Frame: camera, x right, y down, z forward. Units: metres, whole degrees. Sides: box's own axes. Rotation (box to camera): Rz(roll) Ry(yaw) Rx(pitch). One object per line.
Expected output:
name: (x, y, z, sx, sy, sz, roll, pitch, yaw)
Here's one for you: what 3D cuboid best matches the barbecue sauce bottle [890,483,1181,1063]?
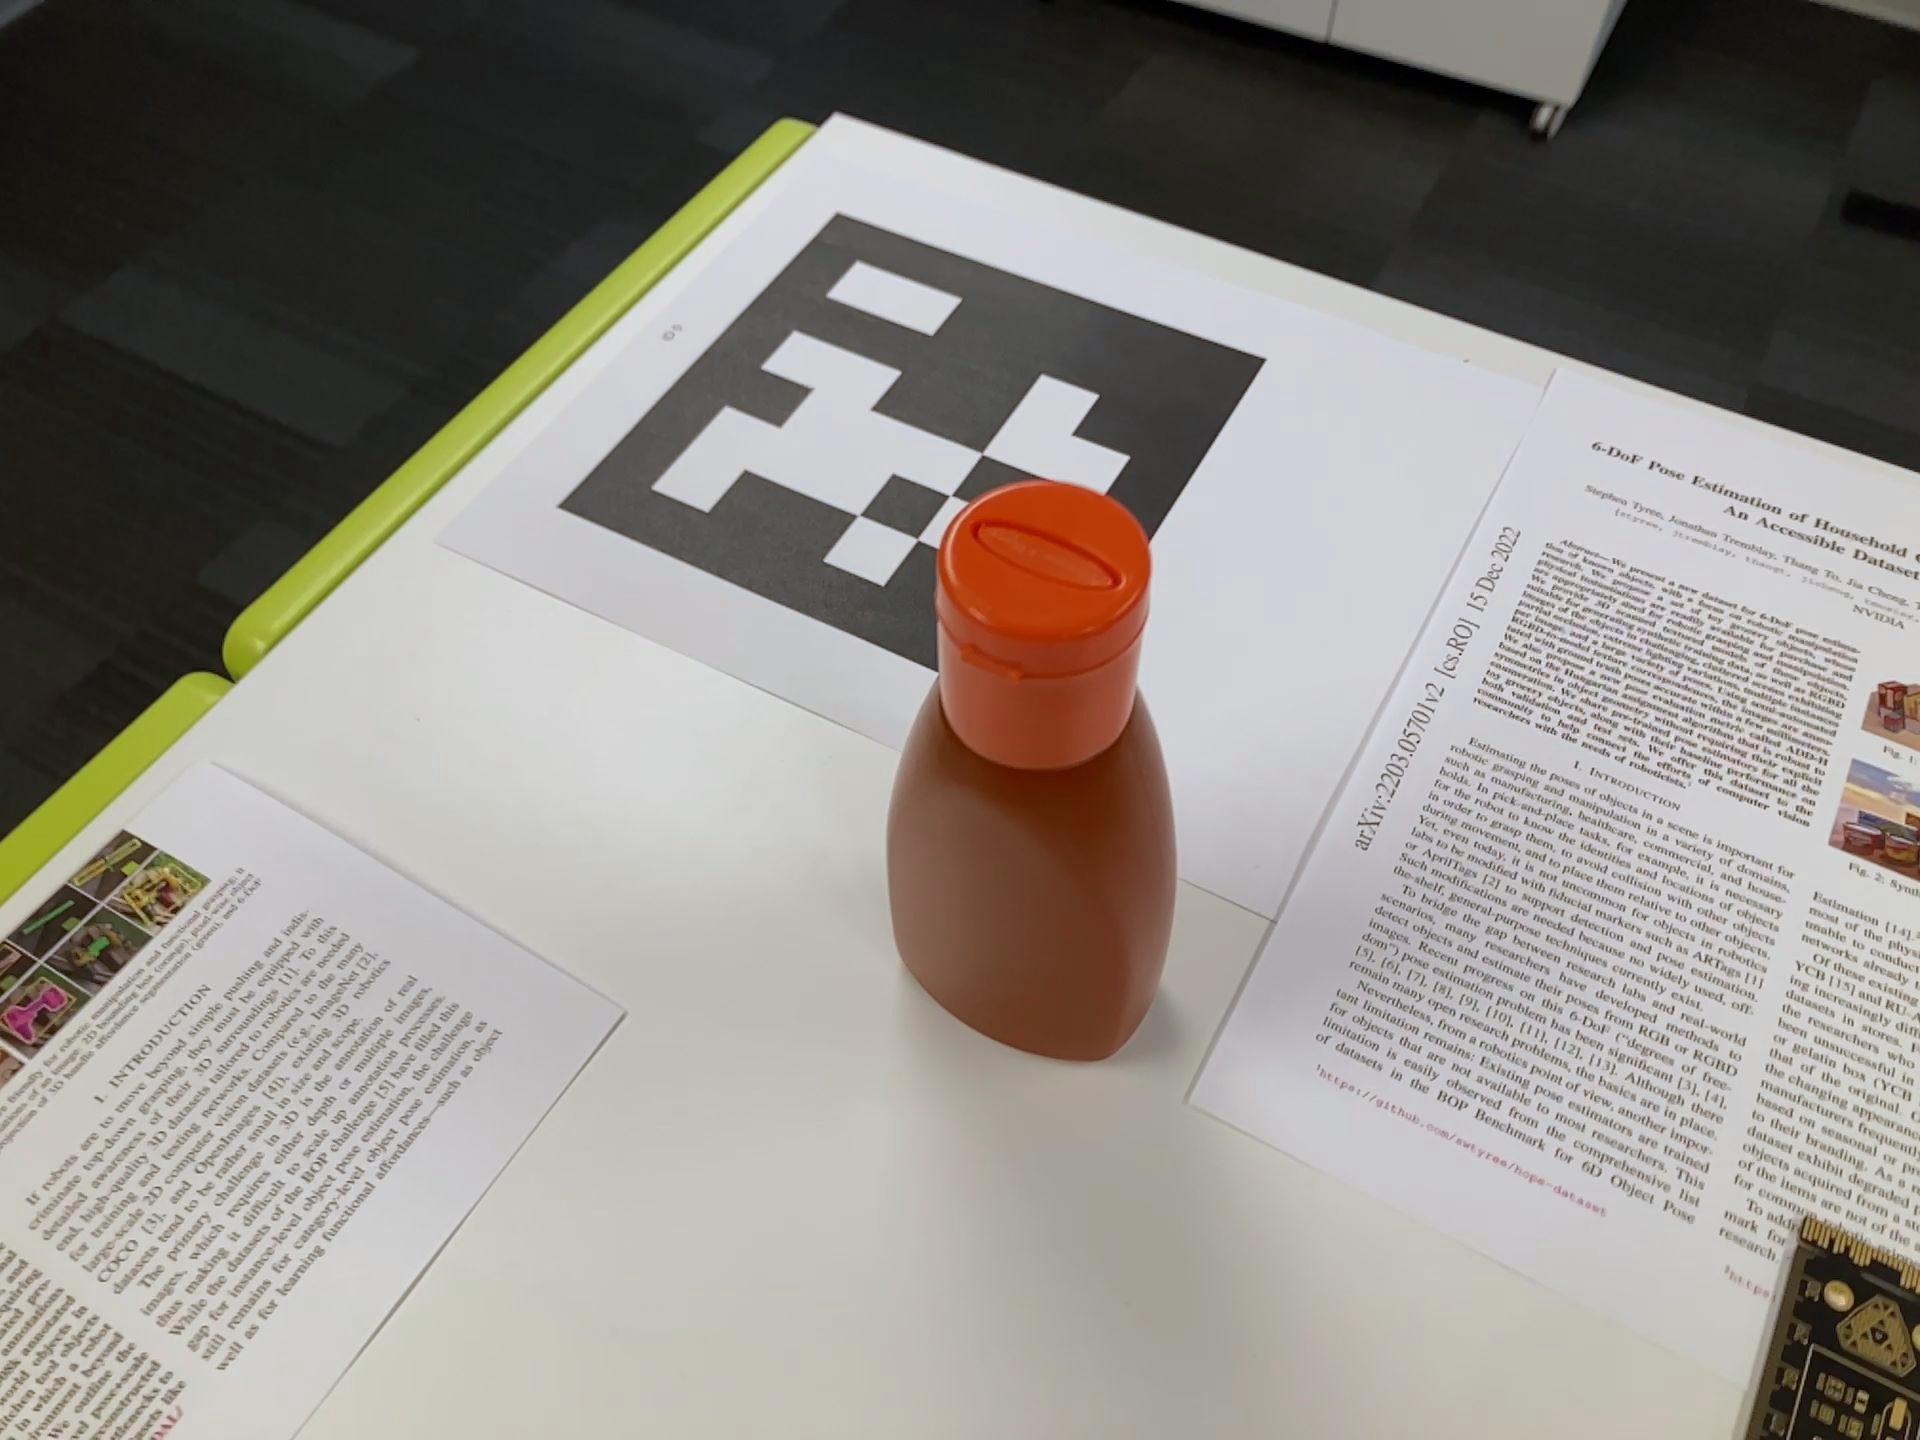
barbecue sauce bottle: (0.015, 0.017, 0.323, 0.065, 0.148, 0.043, 25, 58, 18)
